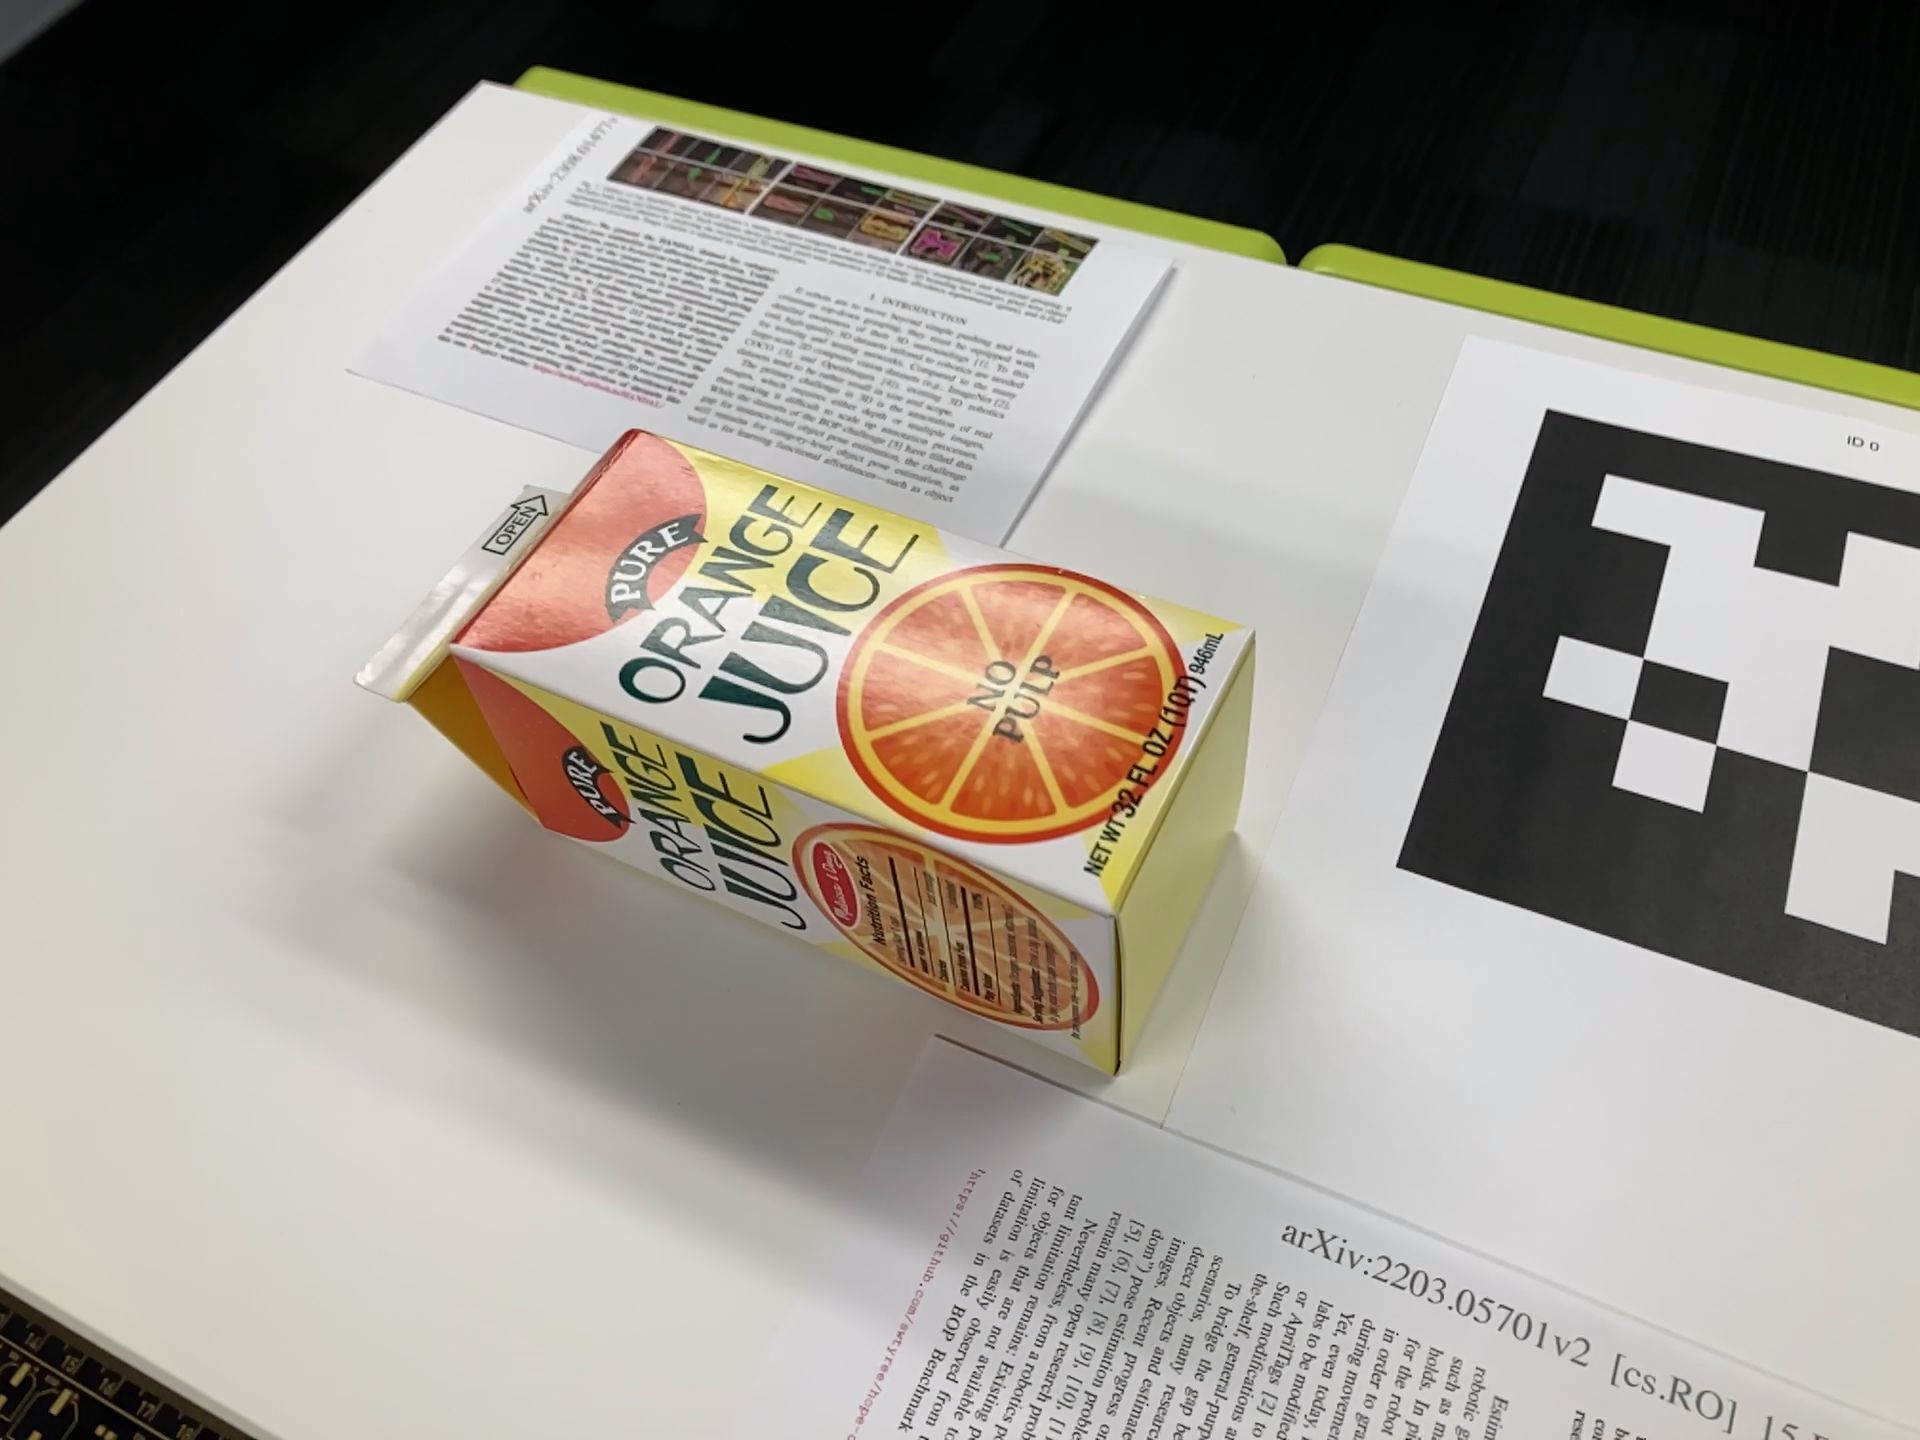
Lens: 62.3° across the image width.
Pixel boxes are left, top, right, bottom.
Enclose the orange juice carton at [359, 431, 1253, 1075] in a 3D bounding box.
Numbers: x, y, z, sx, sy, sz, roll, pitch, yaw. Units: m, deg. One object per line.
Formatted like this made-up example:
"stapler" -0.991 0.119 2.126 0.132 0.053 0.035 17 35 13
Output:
"orange juice carton" -0.039 -0.002 0.354 0.192 0.073 0.072 20 58 18
